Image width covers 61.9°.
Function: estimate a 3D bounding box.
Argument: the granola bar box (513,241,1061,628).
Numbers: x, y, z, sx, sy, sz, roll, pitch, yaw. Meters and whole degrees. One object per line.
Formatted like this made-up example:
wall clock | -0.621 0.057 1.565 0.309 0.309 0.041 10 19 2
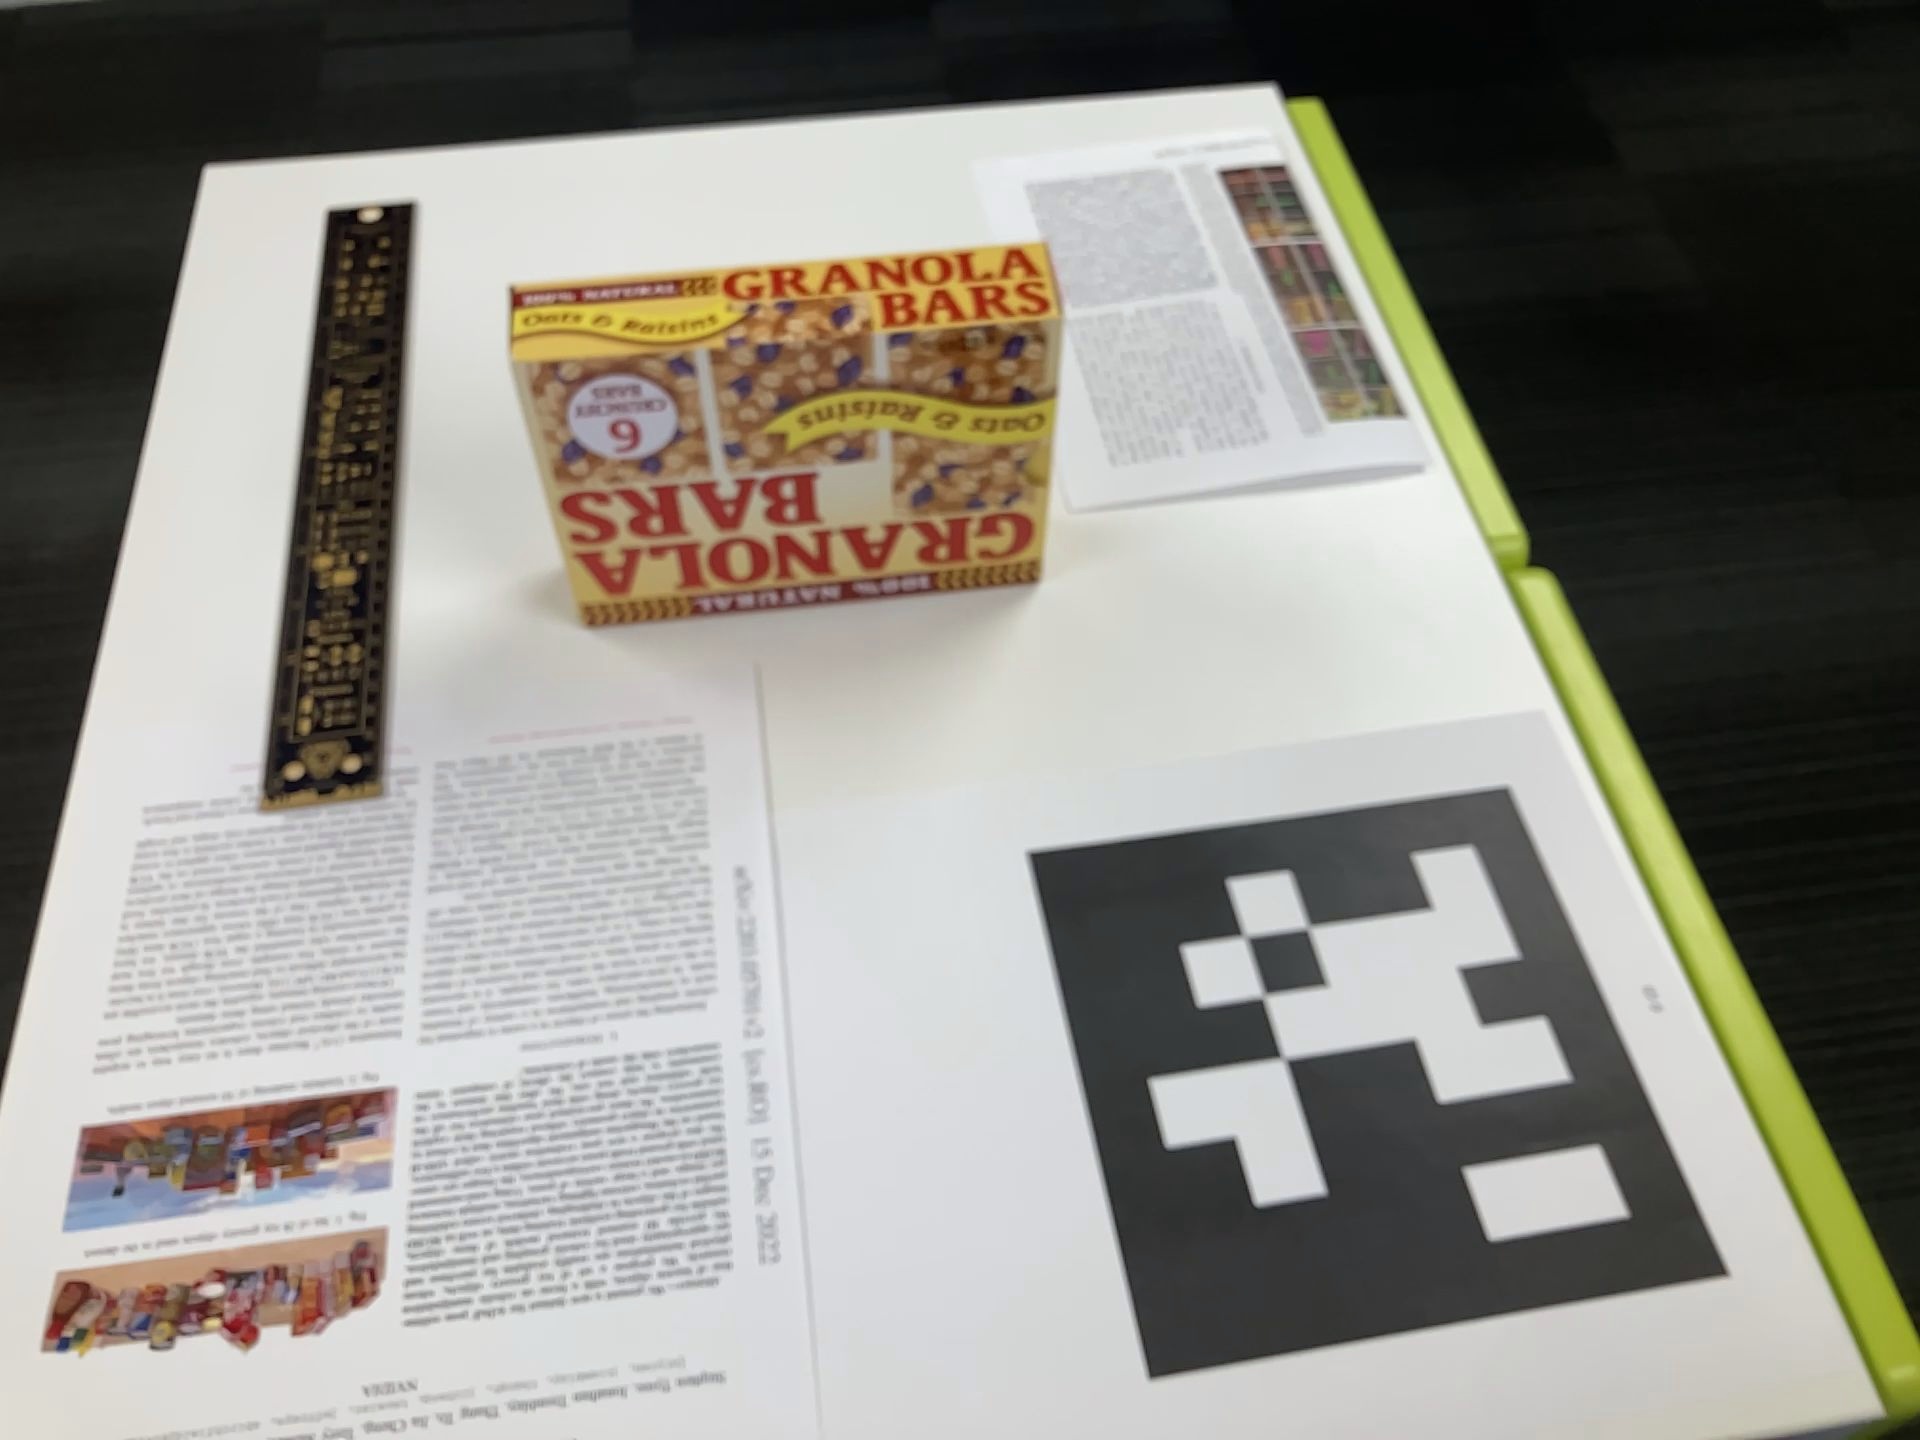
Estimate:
granola bar box | -0.053 -0.091 0.534 0.165 0.124 0.039 -6 54 -5
